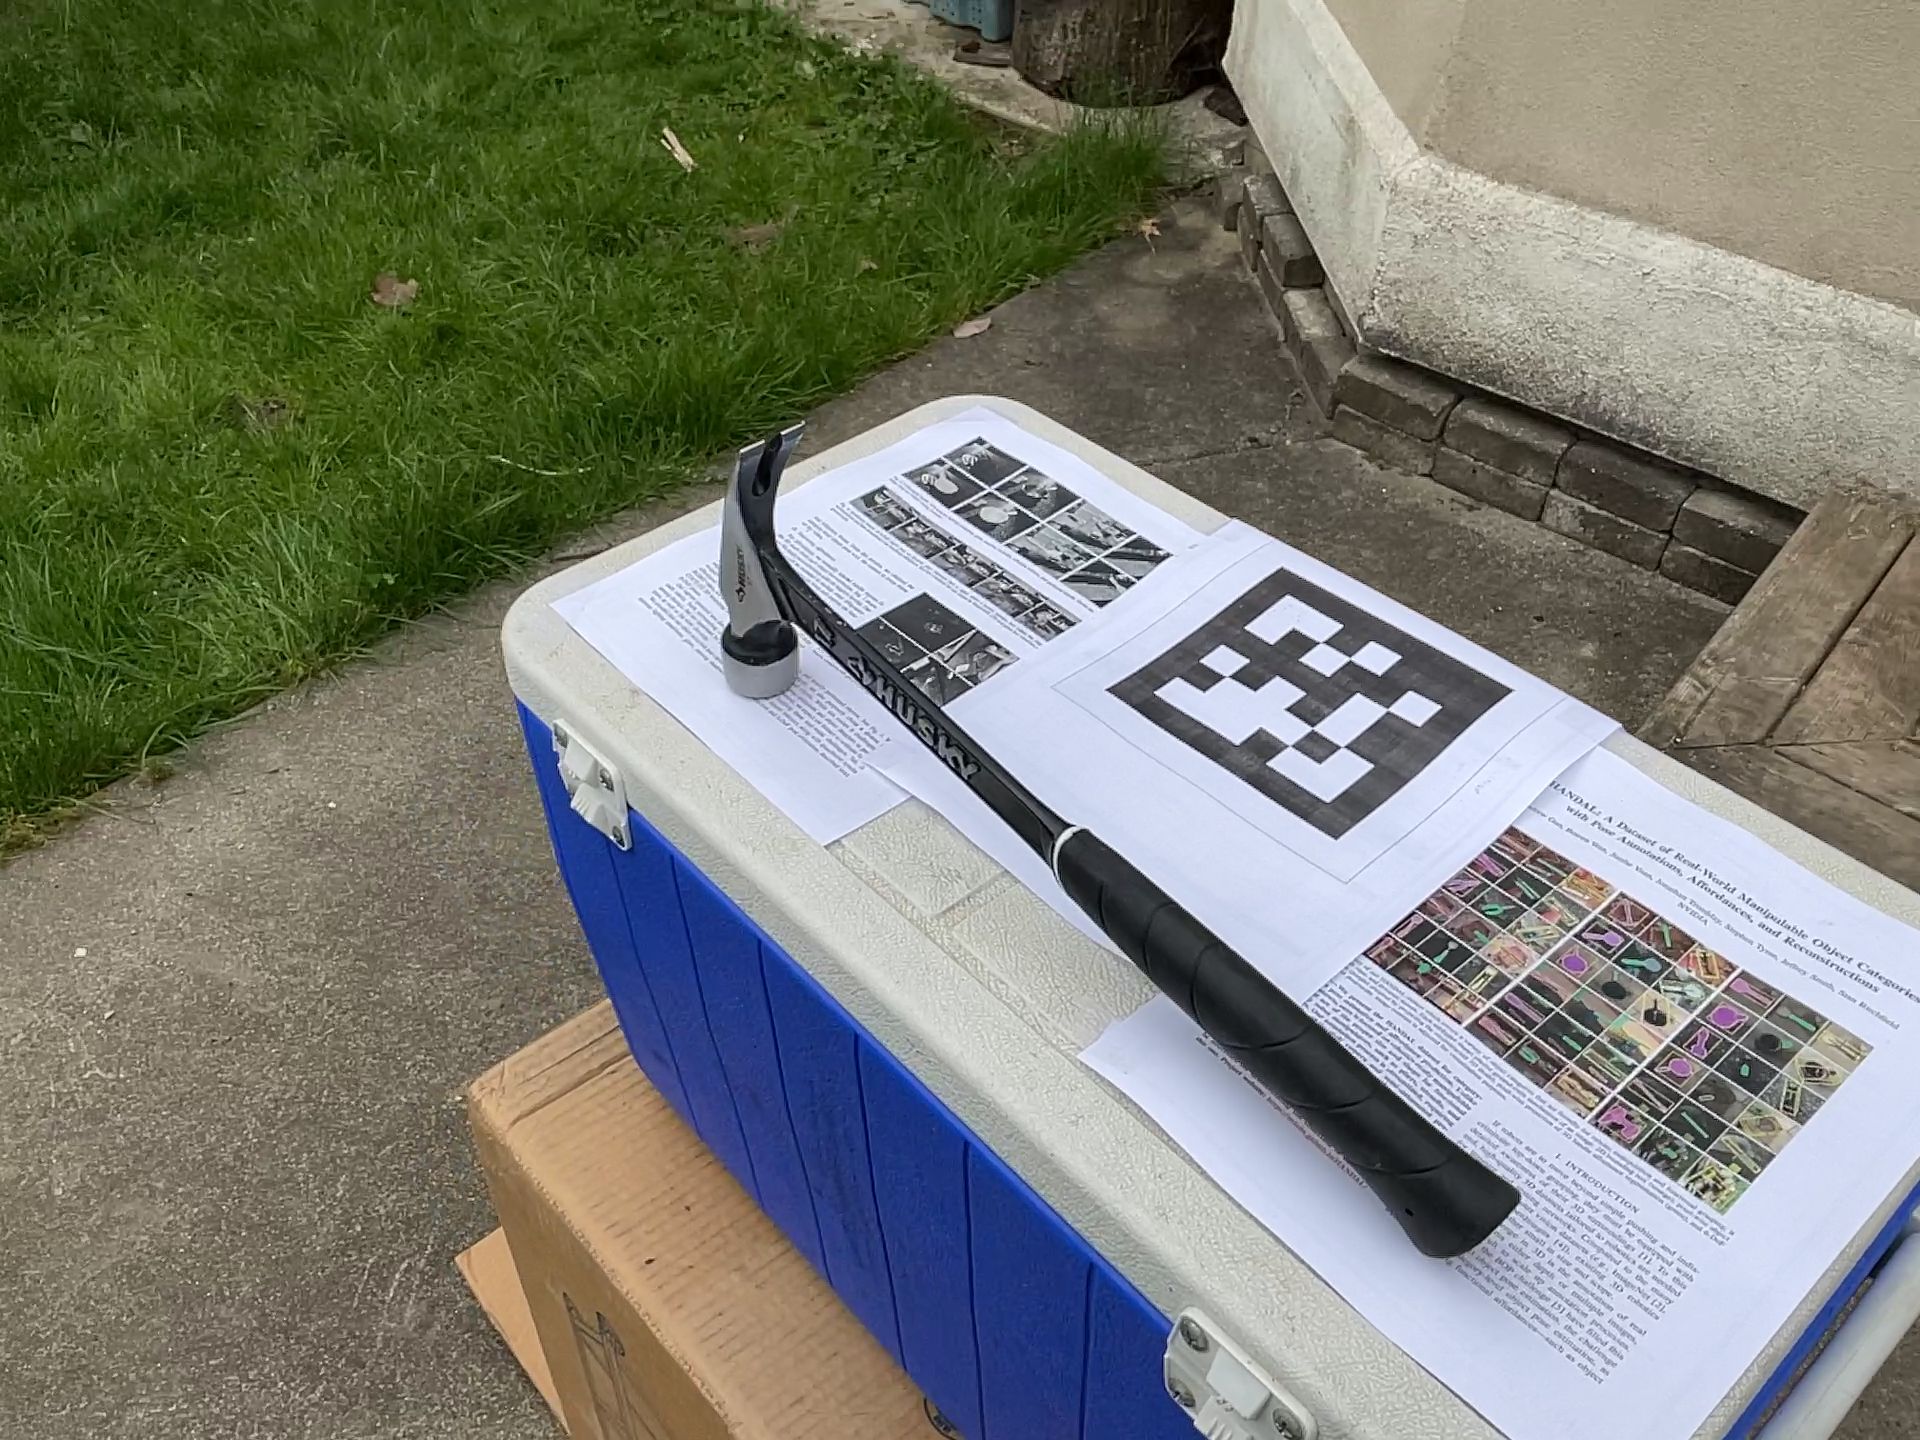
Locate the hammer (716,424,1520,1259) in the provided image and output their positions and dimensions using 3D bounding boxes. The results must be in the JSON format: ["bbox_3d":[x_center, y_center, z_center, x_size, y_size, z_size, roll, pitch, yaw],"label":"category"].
[{"bbox_3d":[0.033,0.039,0.593,0.036,0.149,0.409,-31,56,-28],"label":"hammer"}]
